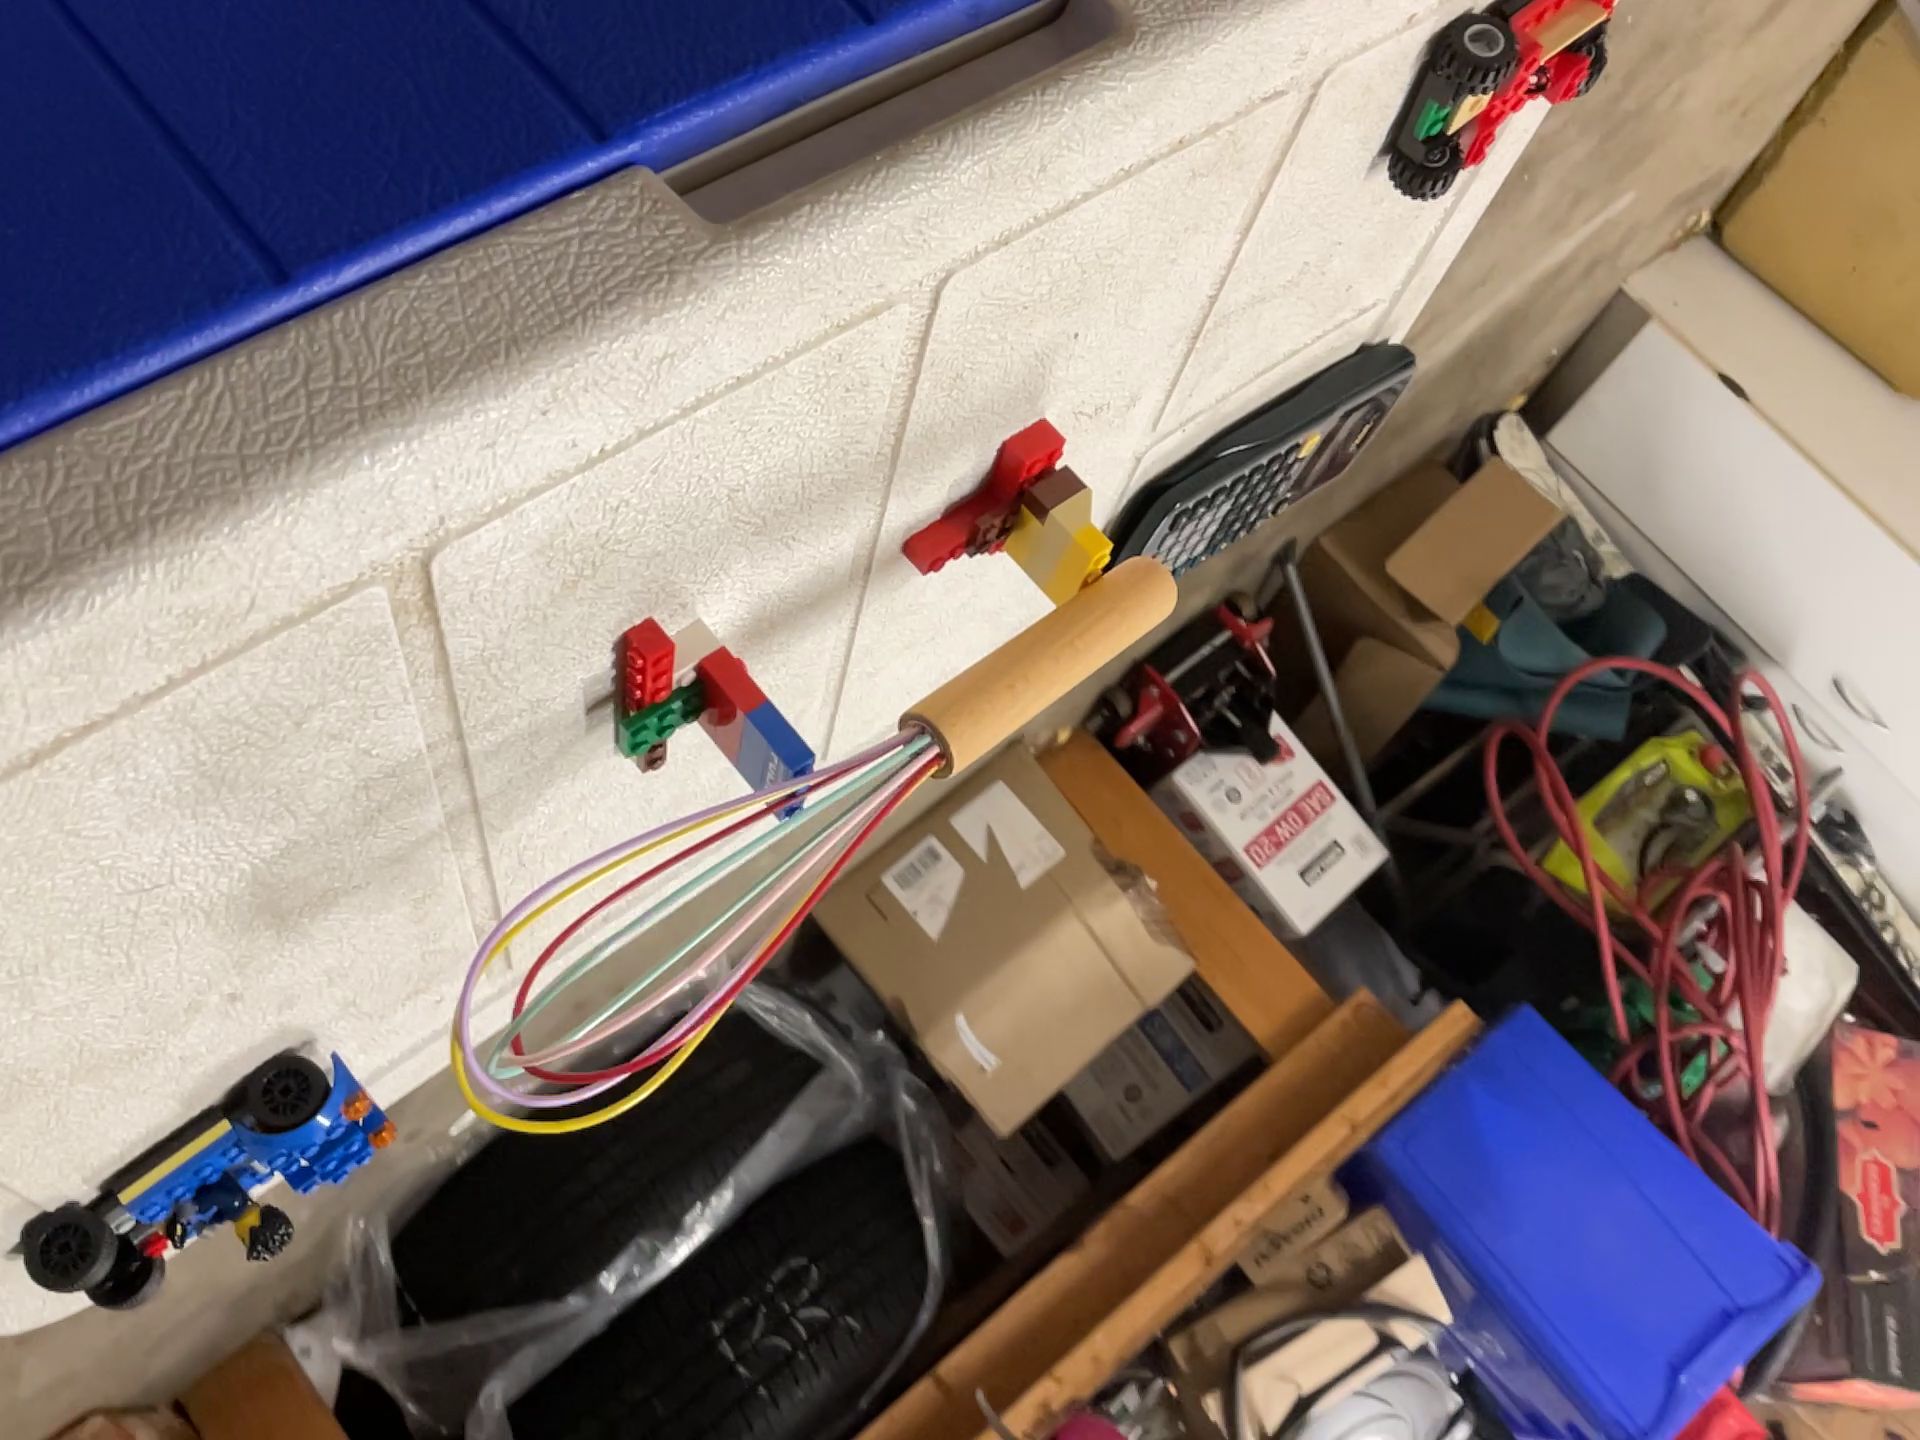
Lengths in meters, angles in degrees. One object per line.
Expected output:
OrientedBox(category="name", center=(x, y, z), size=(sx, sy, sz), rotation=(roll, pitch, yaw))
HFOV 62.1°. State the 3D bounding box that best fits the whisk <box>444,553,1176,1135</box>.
OrientedBox(category="whisk", center=(-0.023, 0.021, 0.409), size=(0.245, 0.047, 0.051), rotation=(-36, 153, -33))
